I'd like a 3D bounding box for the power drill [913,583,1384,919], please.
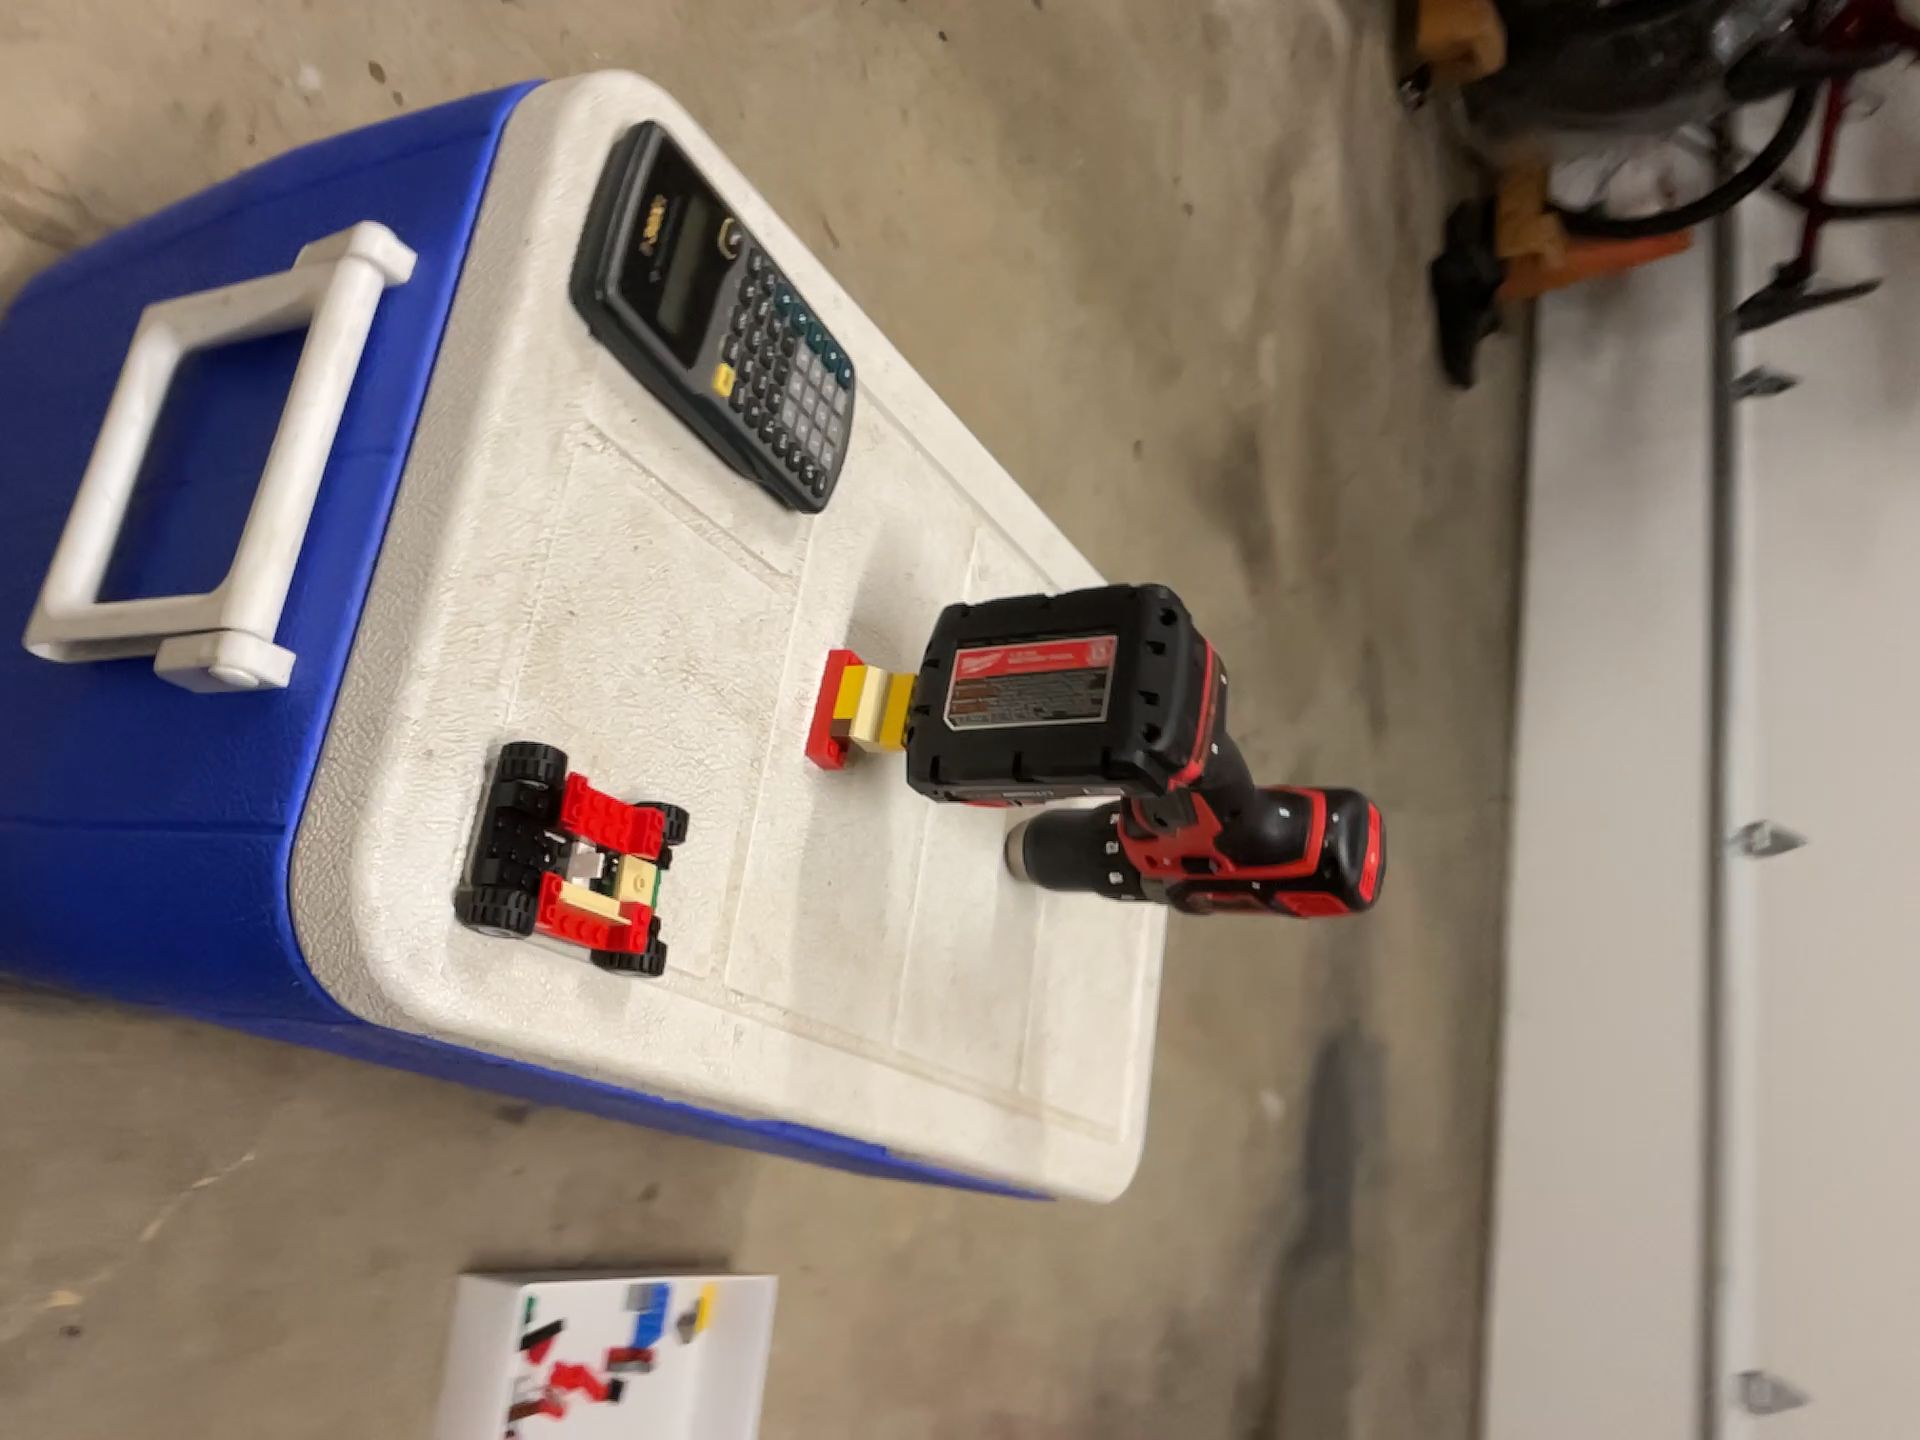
[{"bbox_3d":[0.068,0.032,0.714,0.226,0.187,0.080,38,55,-49],"label":"power drill"}]
